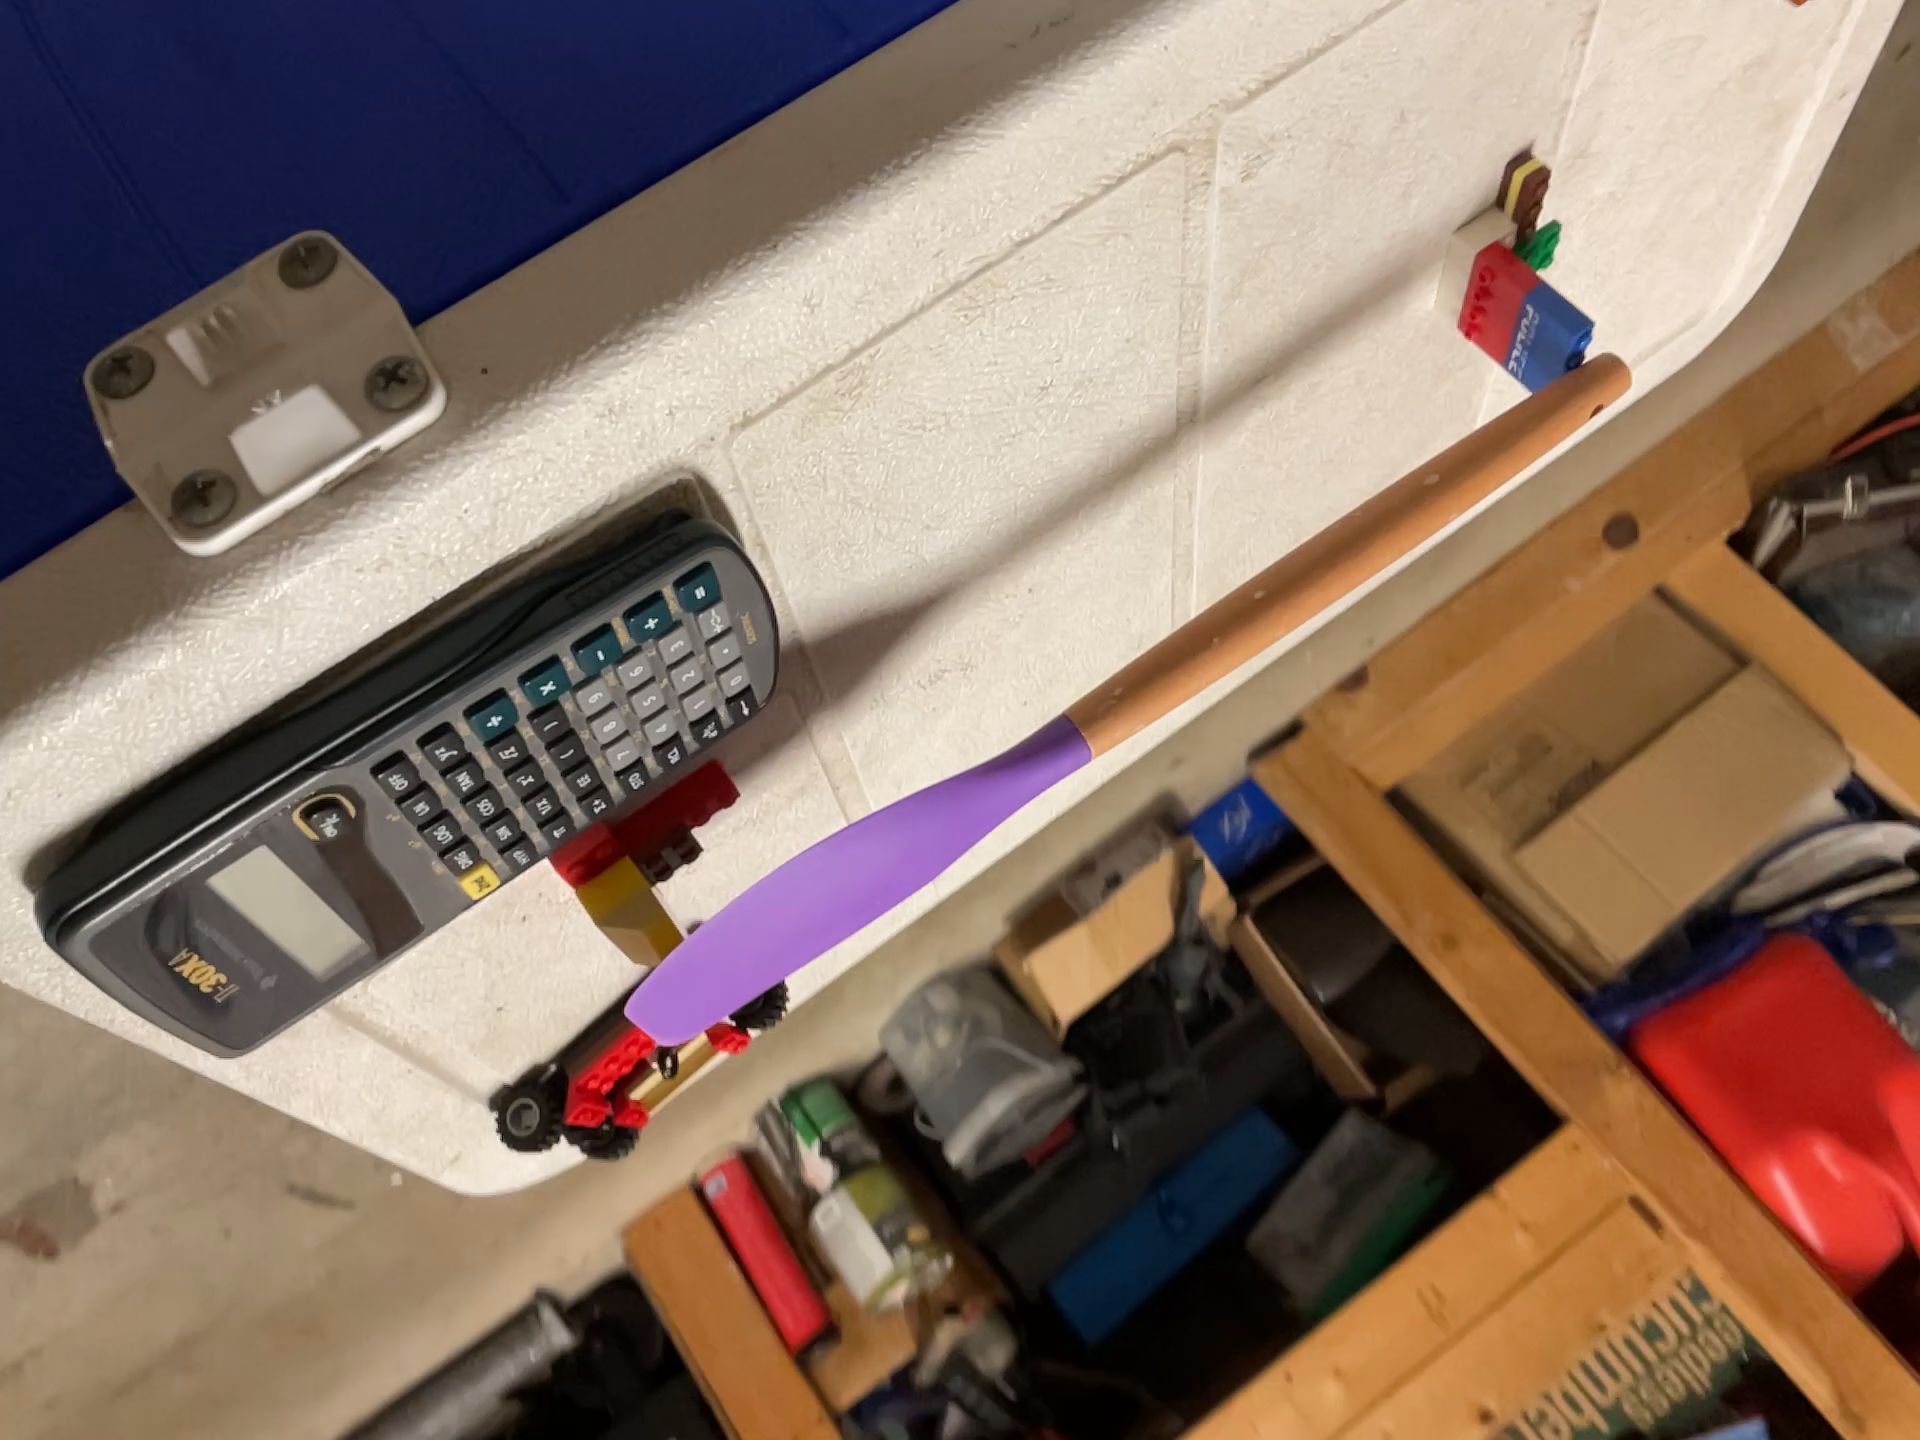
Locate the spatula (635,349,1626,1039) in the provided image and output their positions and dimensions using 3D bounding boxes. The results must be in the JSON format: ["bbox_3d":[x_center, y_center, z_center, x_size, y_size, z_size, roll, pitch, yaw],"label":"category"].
[{"bbox_3d":[0.052,-0.013,0.419,0.316,0.018,0.059,-34,156,-10],"label":"spatula"}]
